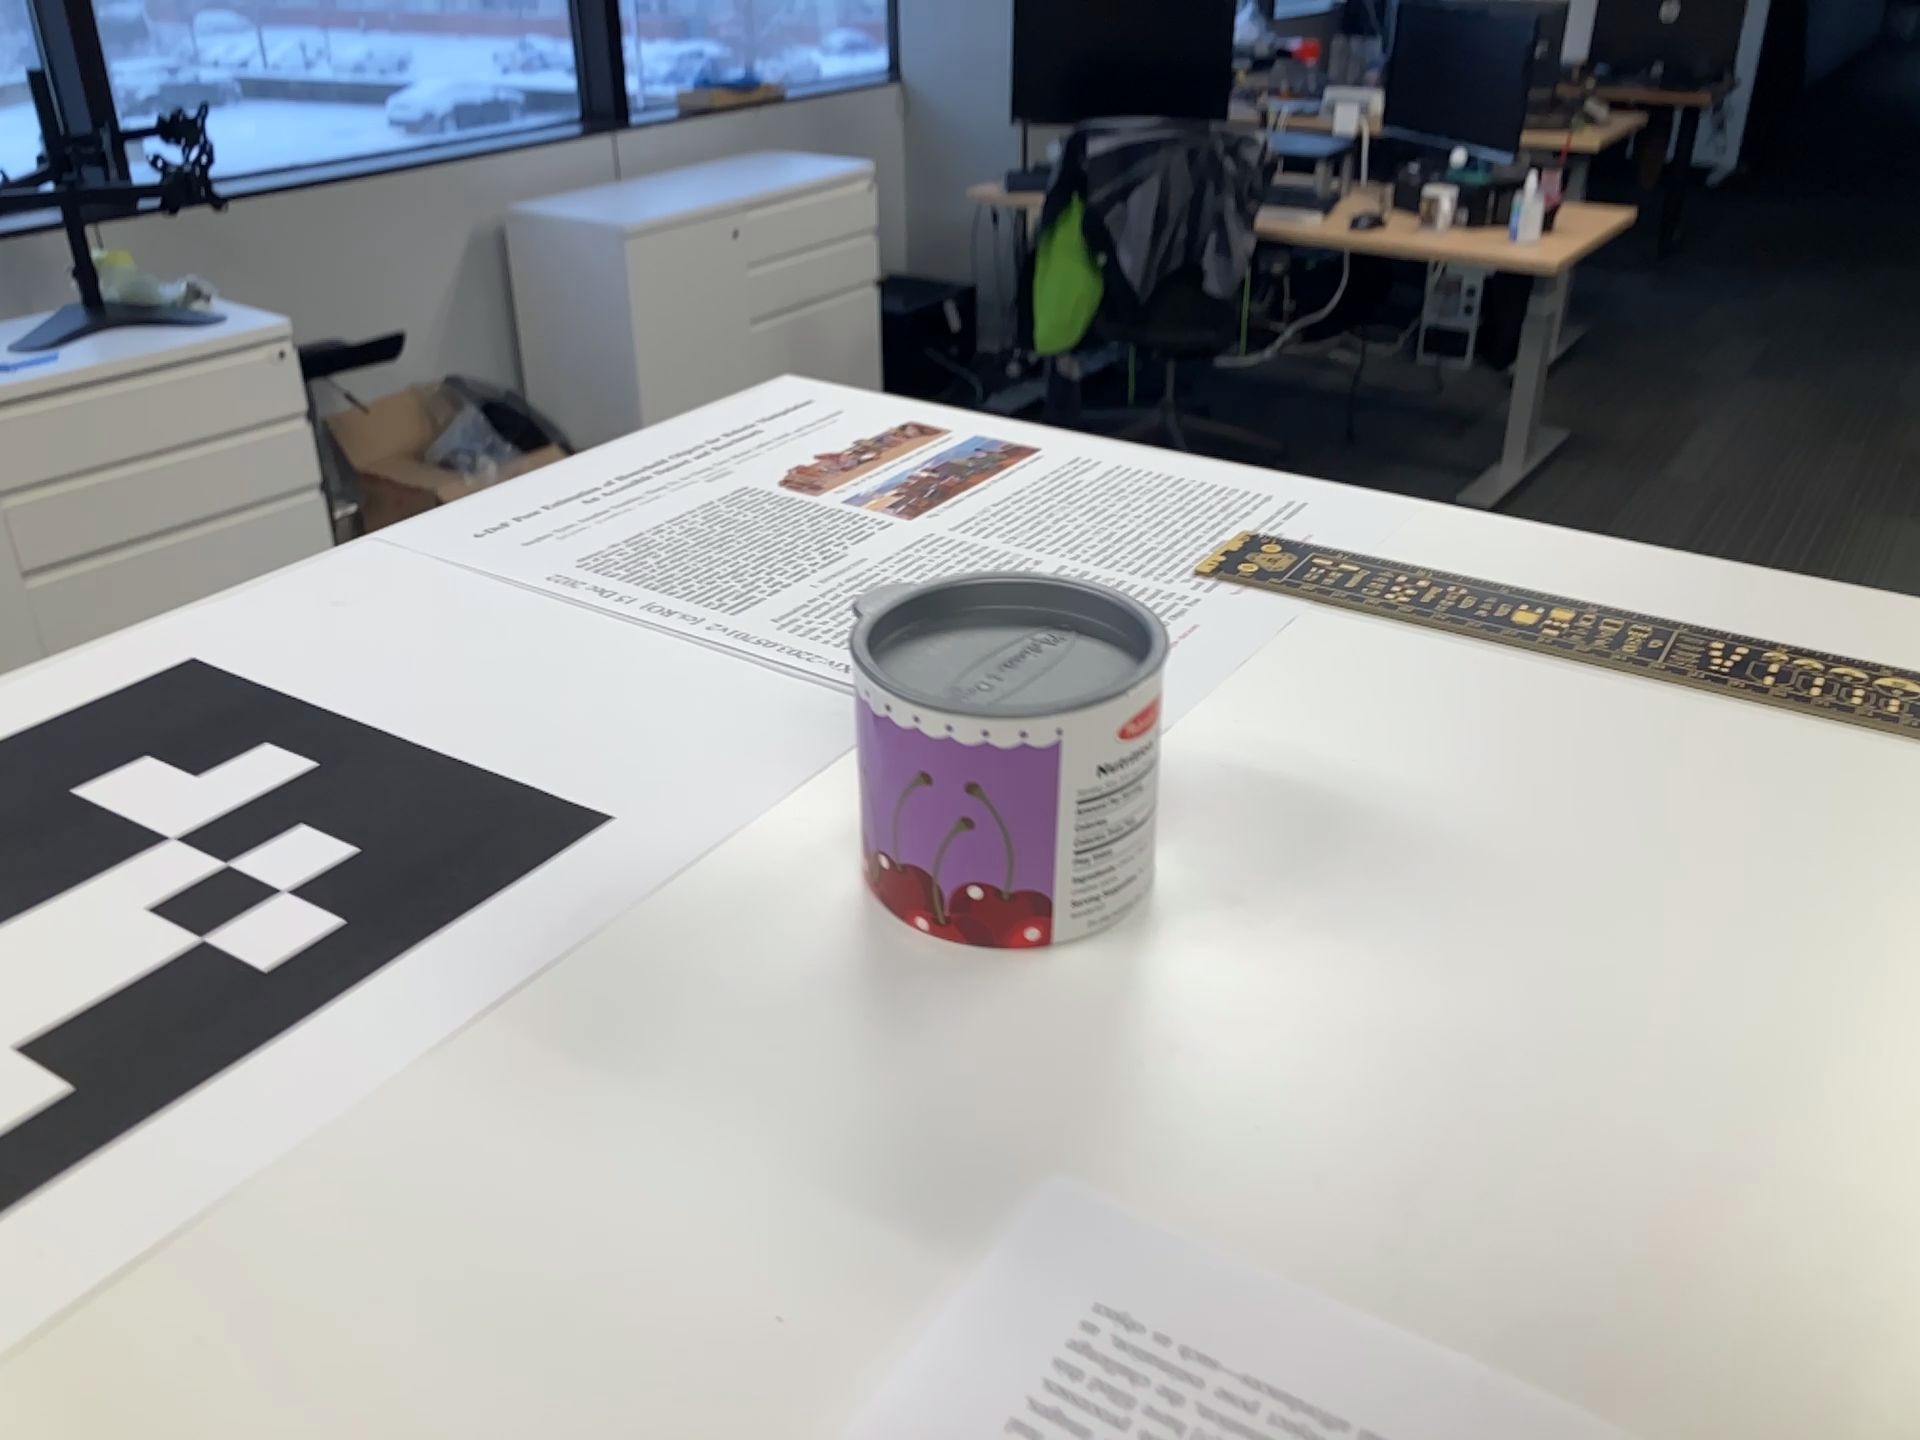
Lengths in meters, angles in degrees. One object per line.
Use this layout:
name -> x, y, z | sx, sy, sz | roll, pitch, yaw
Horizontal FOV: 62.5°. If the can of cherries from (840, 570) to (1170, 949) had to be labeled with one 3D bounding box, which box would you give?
can of cherries -> 0.008, 0.007, 0.342 | 0.071, 0.058, 0.071 | -1, 29, 0
